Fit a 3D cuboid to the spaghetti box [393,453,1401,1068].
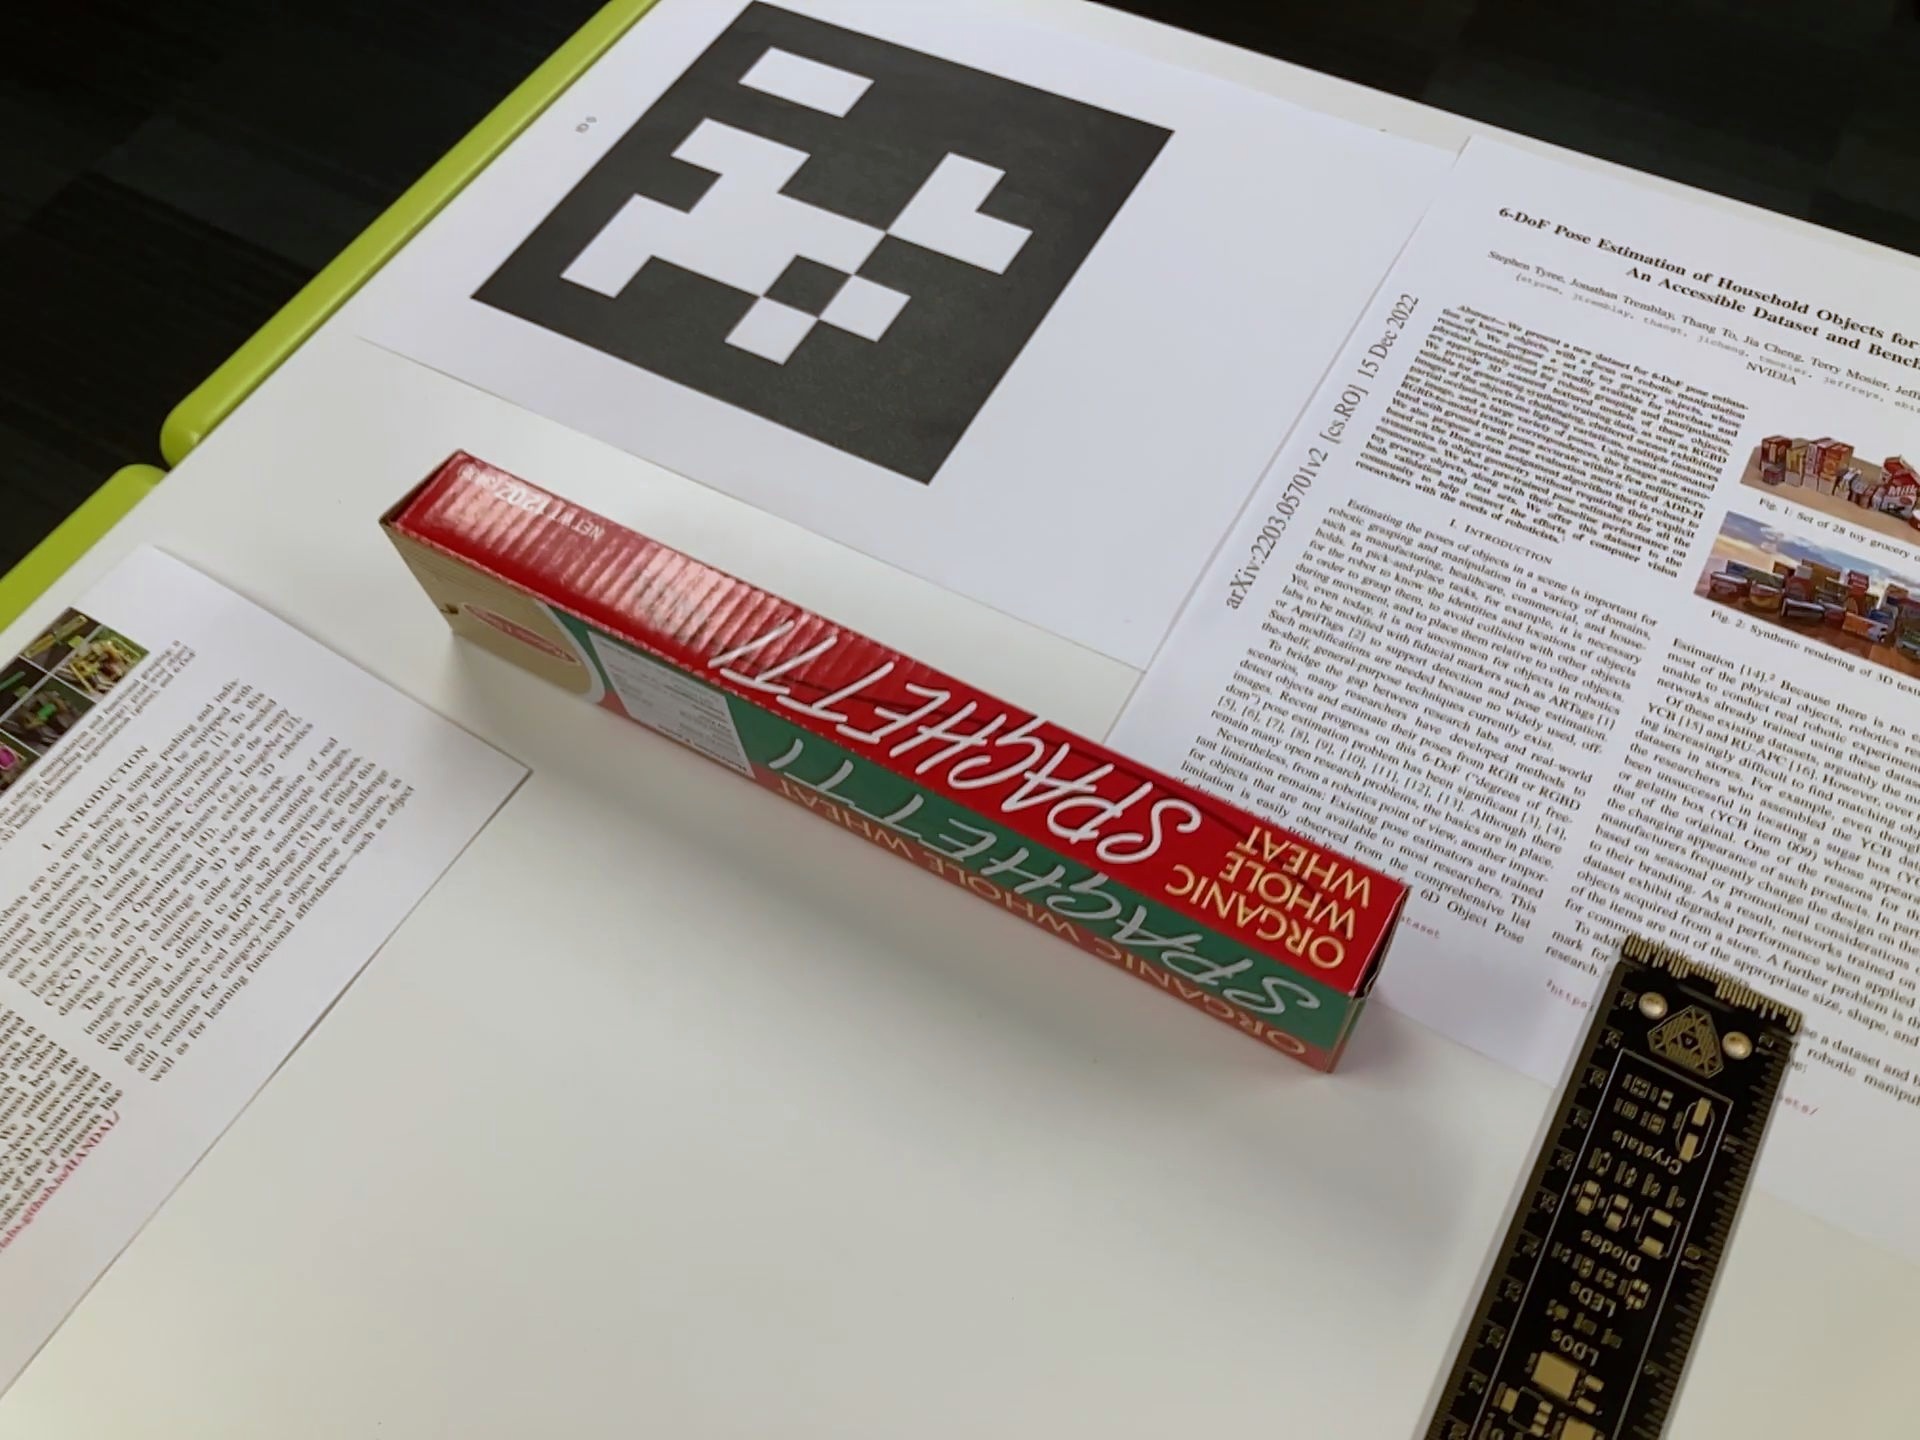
[{"bbox_3d":[-0.021,0.006,0.370,0.250,0.050,0.028,25,66,17],"label":"spaghetti box"}]
